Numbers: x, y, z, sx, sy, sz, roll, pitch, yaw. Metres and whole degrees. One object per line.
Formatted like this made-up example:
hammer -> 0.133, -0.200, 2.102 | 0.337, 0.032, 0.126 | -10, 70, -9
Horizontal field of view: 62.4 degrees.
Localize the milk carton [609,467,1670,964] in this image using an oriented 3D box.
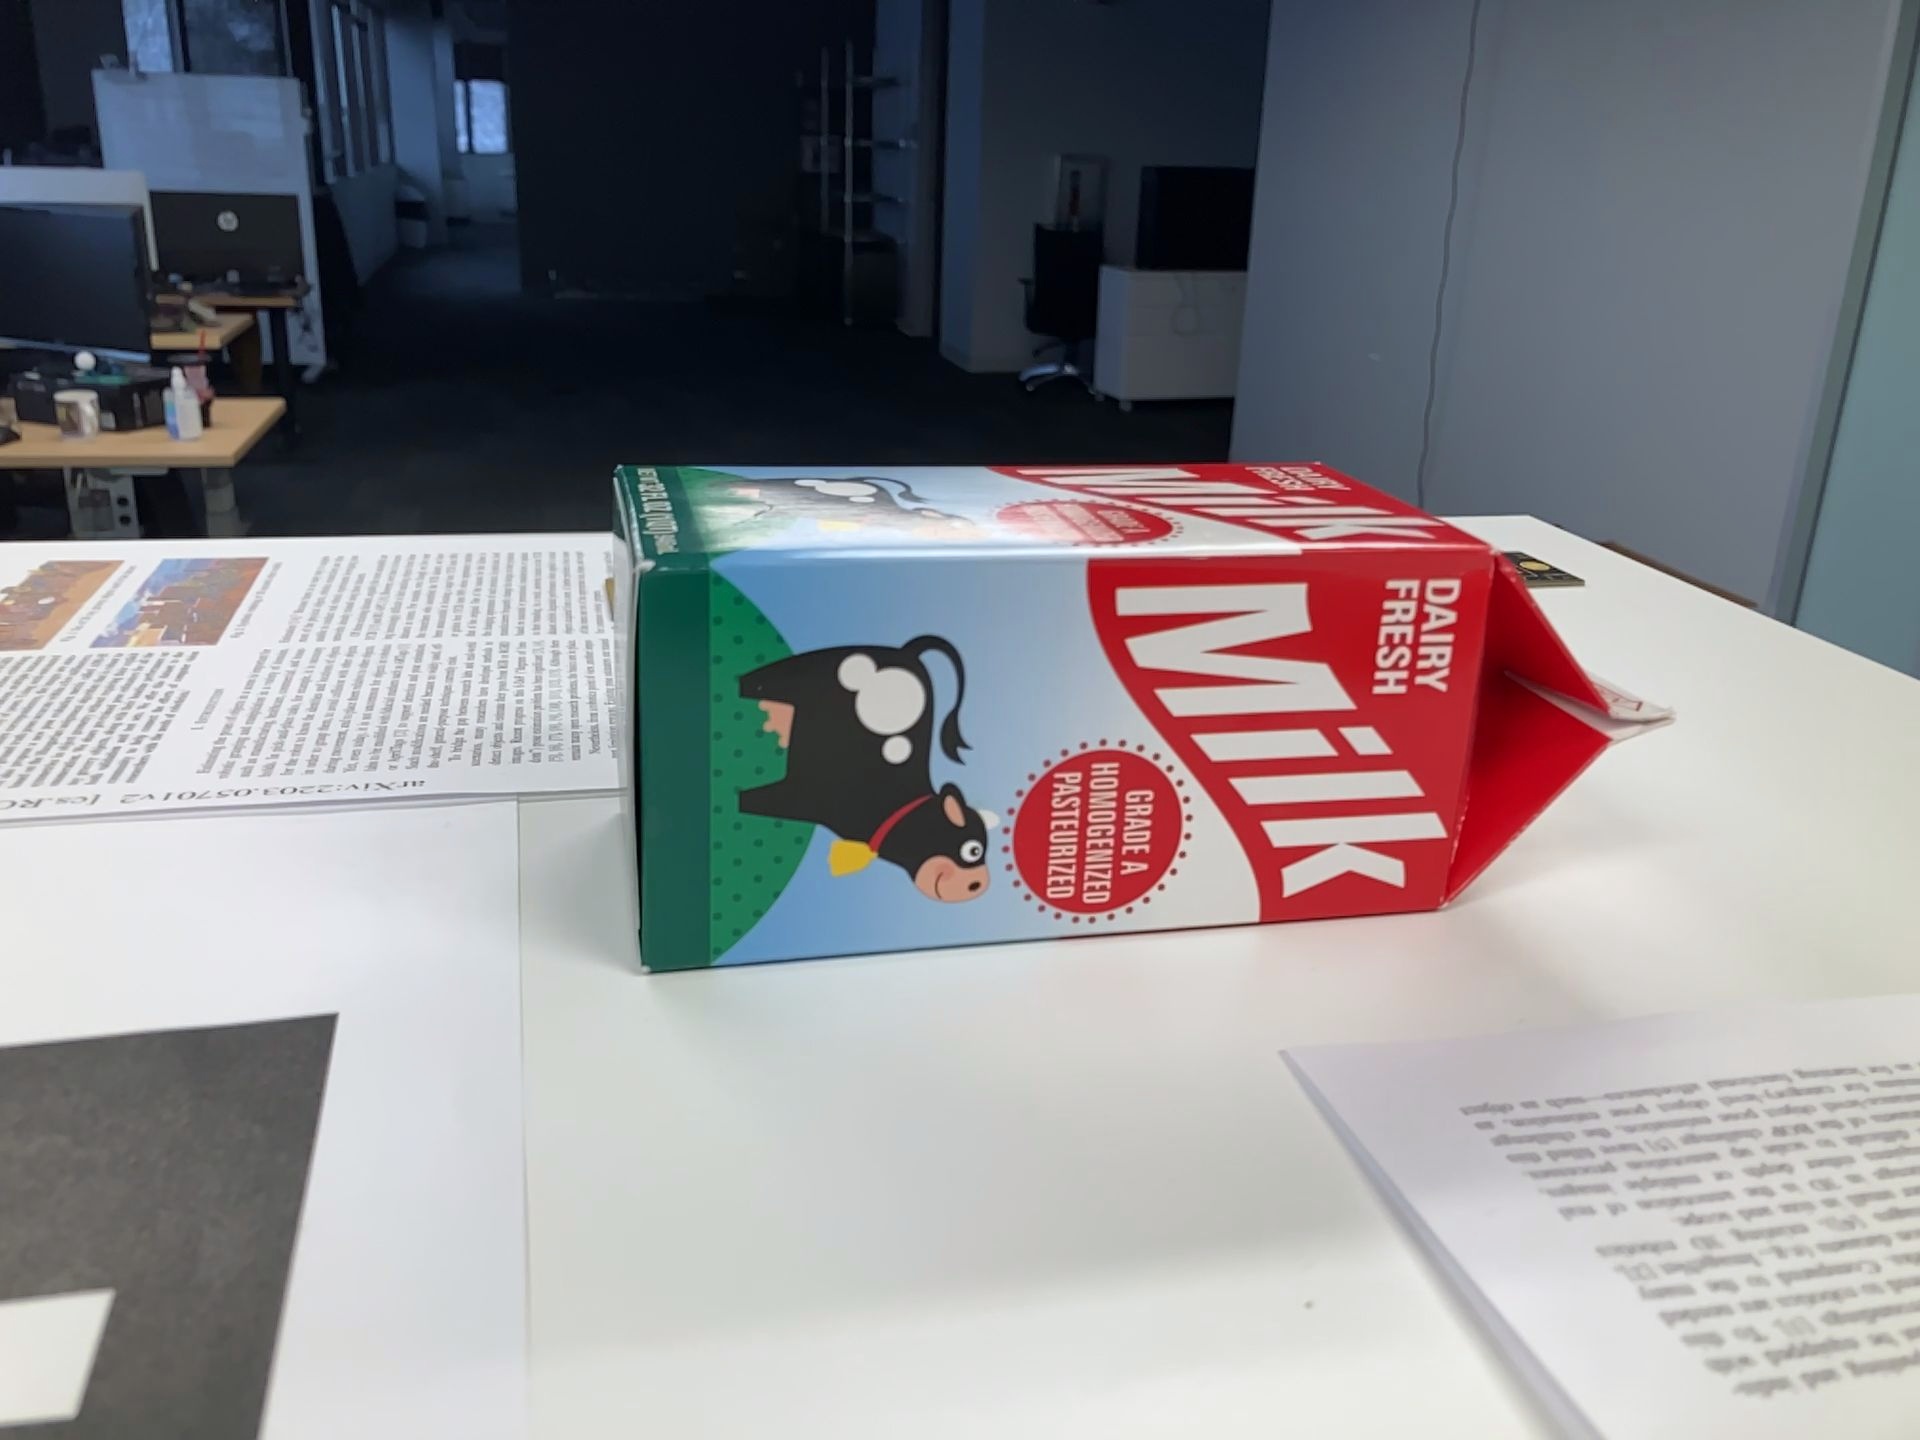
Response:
milk carton -> 0.032, -0.007, 0.304 | 0.190, 0.073, 0.072 | -2, 20, -14
